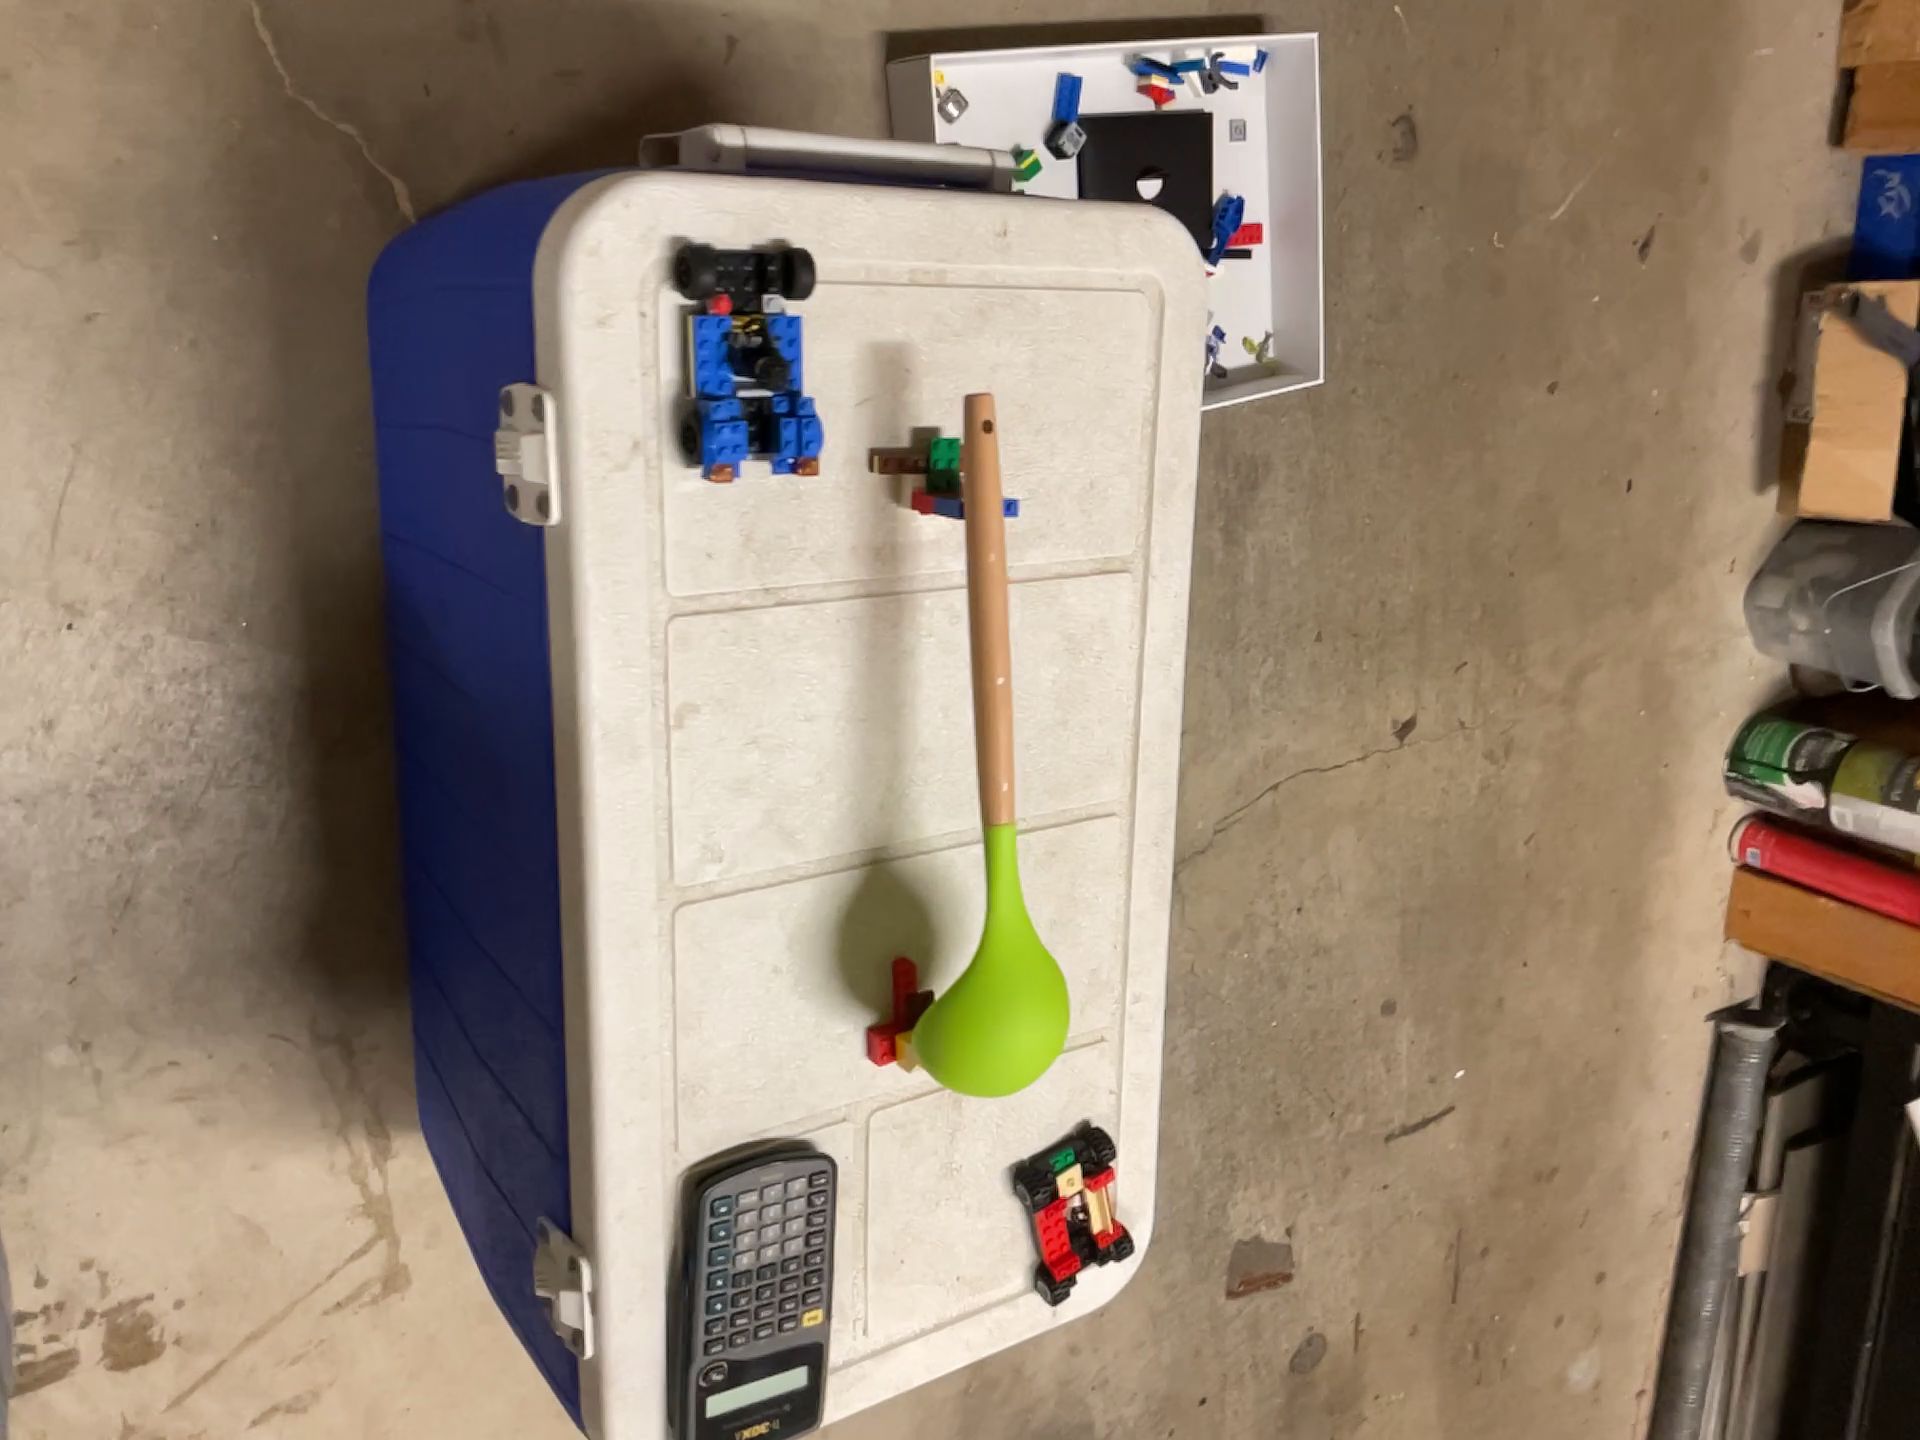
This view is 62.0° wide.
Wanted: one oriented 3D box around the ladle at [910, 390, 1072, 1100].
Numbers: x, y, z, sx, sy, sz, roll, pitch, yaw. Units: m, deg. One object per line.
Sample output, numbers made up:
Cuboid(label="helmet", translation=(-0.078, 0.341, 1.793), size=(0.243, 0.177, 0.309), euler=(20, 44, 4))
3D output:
Cuboid(label="ladle", translation=(0.009, 0.017, 0.709), size=(0.078, 0.062, 0.320), euler=(-8, 101, -27))
